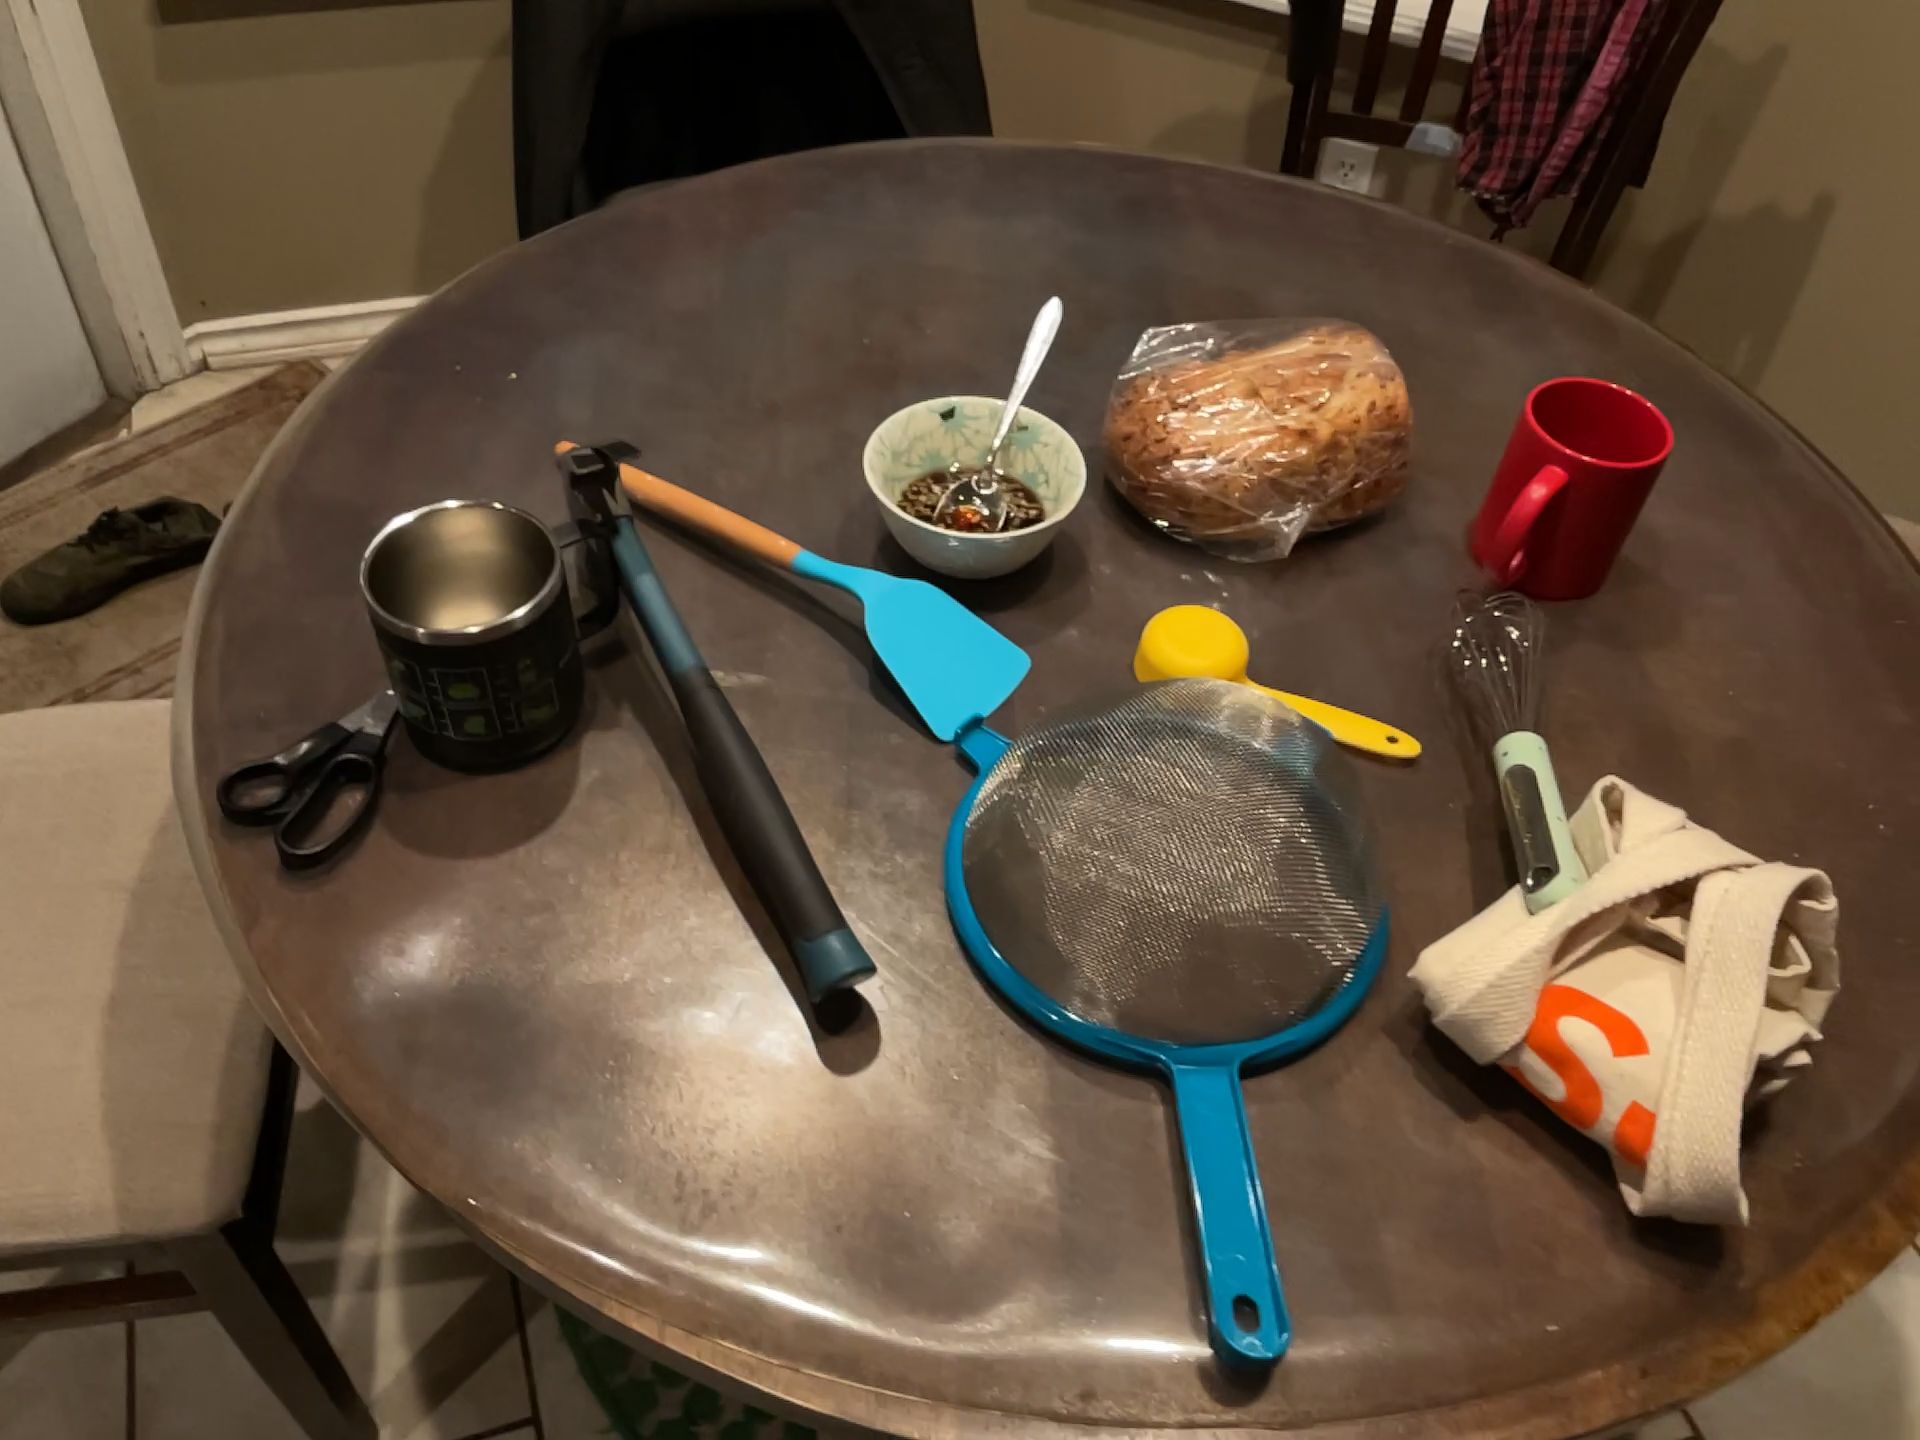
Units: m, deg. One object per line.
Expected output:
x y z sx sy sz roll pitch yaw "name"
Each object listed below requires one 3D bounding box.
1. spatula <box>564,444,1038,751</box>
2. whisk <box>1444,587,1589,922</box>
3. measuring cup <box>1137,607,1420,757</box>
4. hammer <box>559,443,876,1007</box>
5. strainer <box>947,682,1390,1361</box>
-0.105 -0.085 0.891 0.317 0.044 0.082 28 51 25 "spatula"
0.277 0.010 0.795 0.059 0.057 0.246 32 35 -17 "whisk"
0.169 -0.019 0.844 0.156 0.029 0.062 21 49 16 "measuring cup"
-0.124 -0.004 0.769 0.033 0.128 0.331 -21 61 -19 "hammer"
0.104 0.092 0.691 0.211 0.095 0.341 0 43 -4 "strainer"
